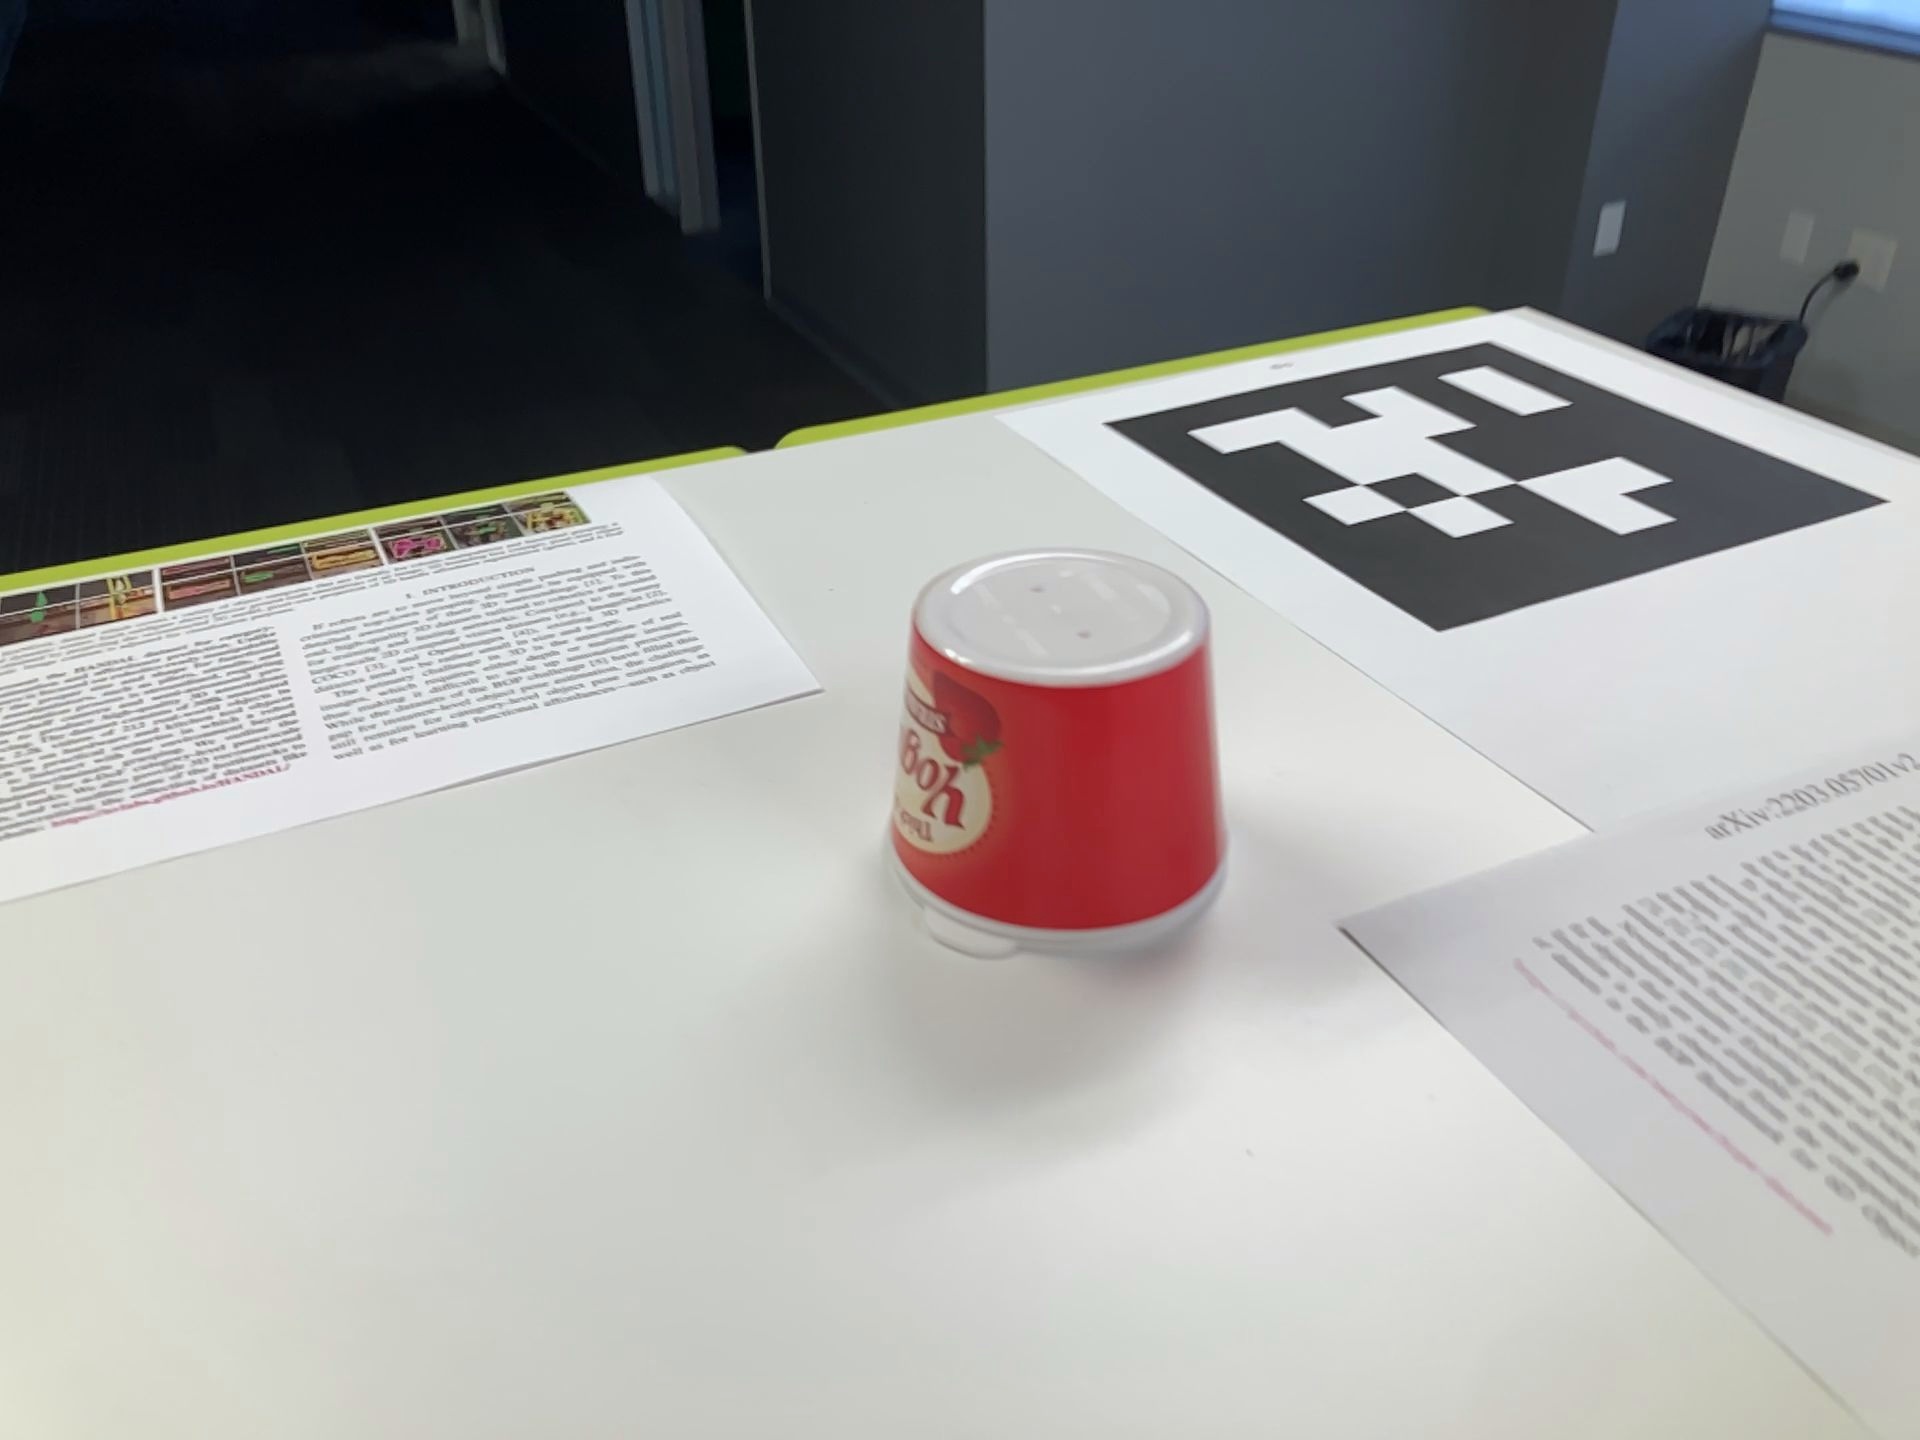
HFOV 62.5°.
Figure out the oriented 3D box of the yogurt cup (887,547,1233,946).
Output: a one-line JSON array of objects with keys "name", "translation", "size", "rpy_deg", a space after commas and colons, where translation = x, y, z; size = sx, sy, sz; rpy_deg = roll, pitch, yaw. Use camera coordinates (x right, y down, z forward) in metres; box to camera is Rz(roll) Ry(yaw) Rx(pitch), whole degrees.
[{"name": "yogurt cup", "translation": [0.019, 0.002, 0.301], "size": [0.072, 0.054, 0.072], "rpy_deg": [-1, 30, 1]}]
